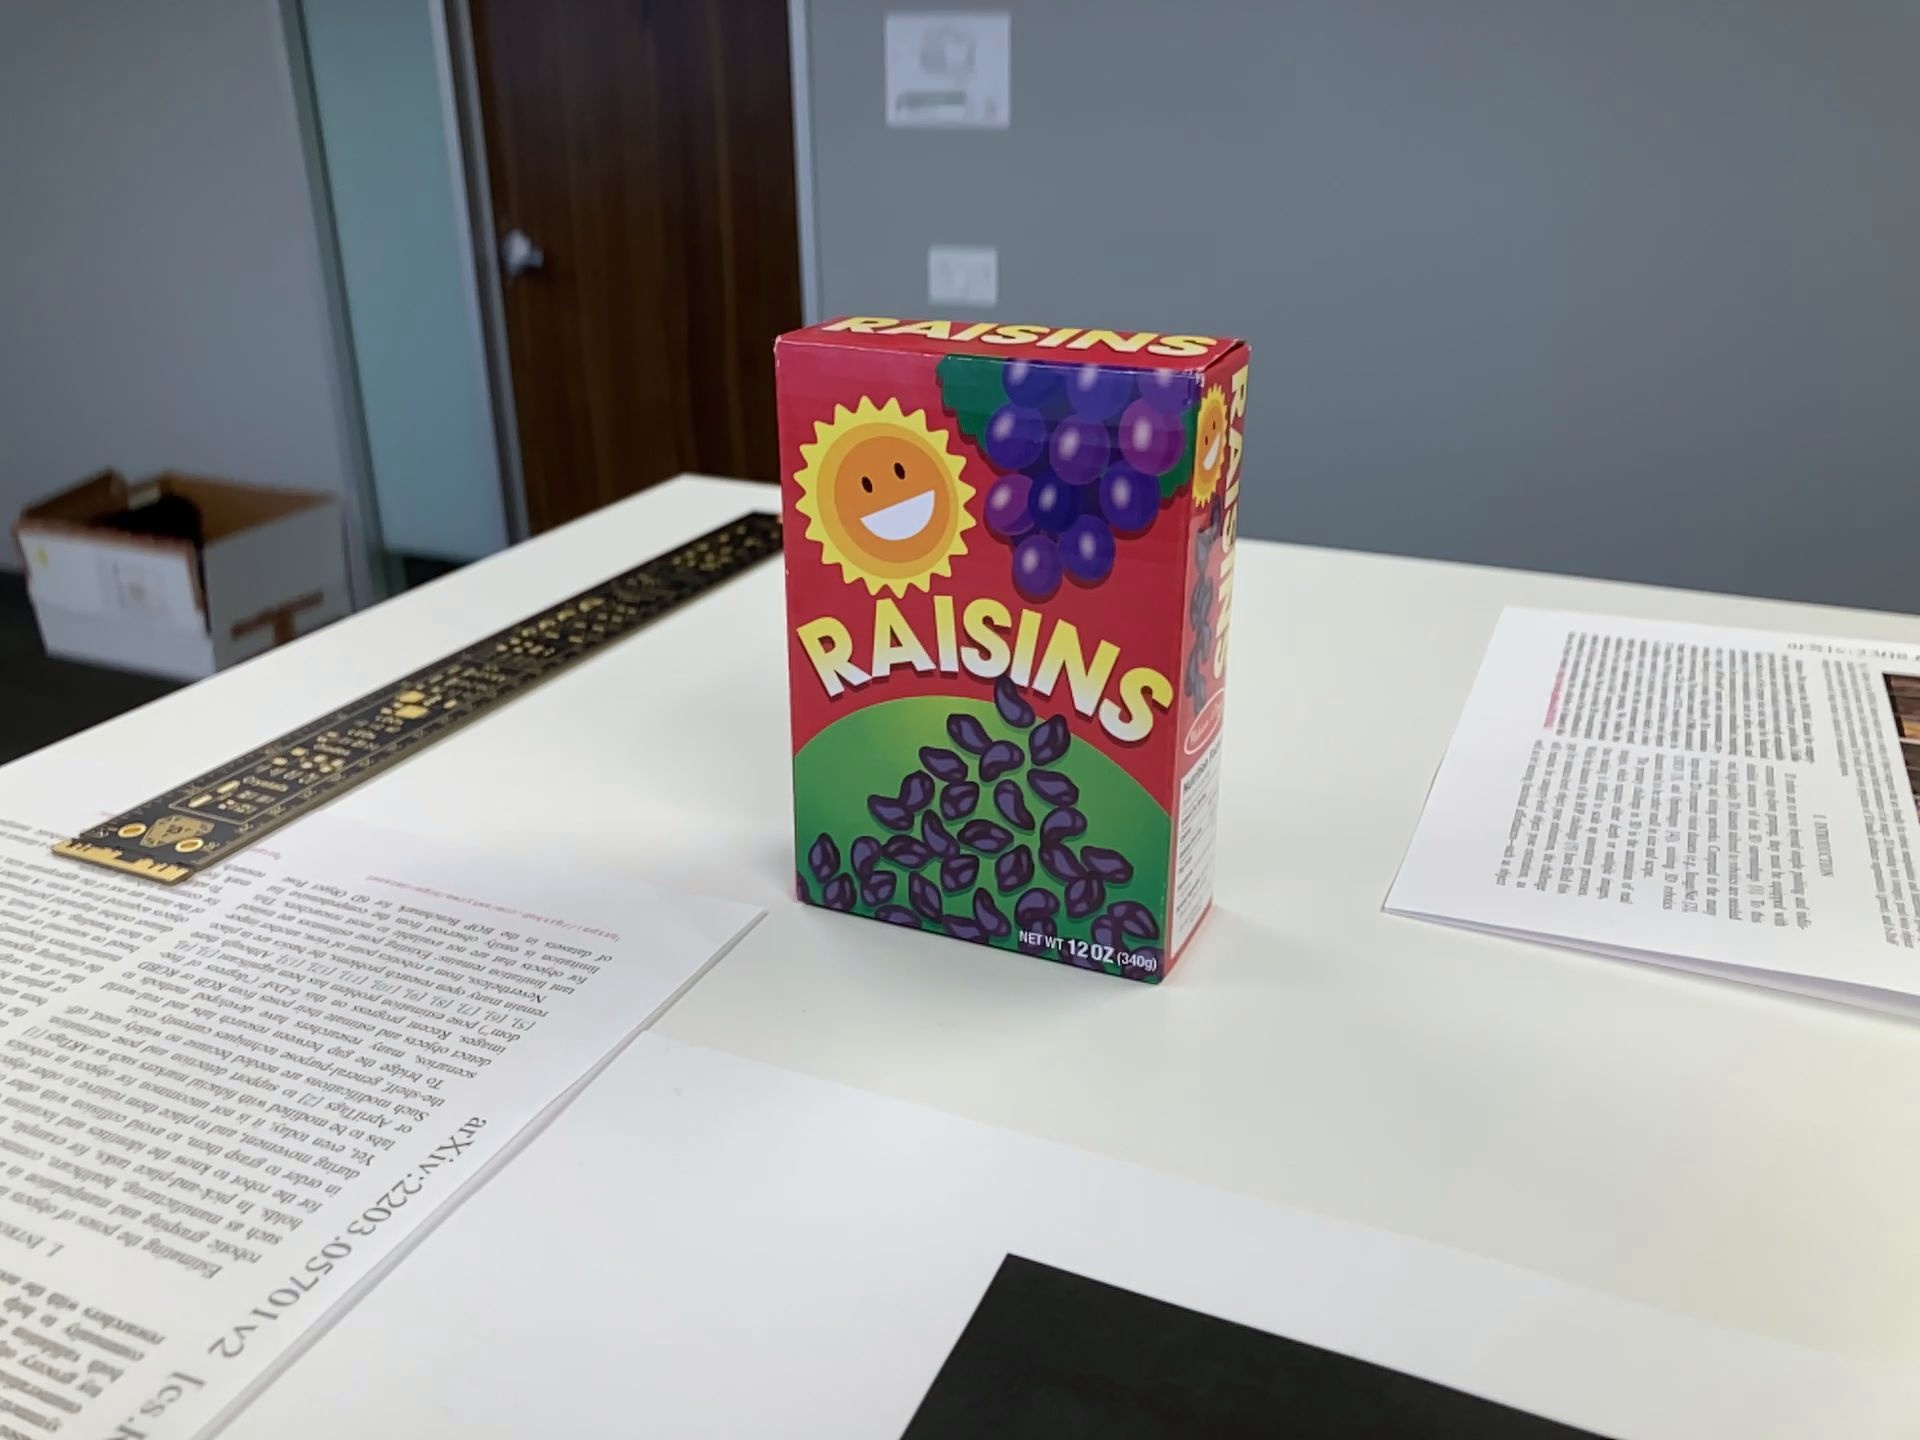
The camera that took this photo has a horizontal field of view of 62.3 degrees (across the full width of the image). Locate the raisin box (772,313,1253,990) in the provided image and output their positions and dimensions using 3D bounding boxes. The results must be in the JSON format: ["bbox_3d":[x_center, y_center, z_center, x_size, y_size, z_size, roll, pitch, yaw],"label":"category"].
[{"bbox_3d":[0.010,-0.016,0.321,0.086,0.123,0.040,10,24,22],"label":"raisin box"}]
